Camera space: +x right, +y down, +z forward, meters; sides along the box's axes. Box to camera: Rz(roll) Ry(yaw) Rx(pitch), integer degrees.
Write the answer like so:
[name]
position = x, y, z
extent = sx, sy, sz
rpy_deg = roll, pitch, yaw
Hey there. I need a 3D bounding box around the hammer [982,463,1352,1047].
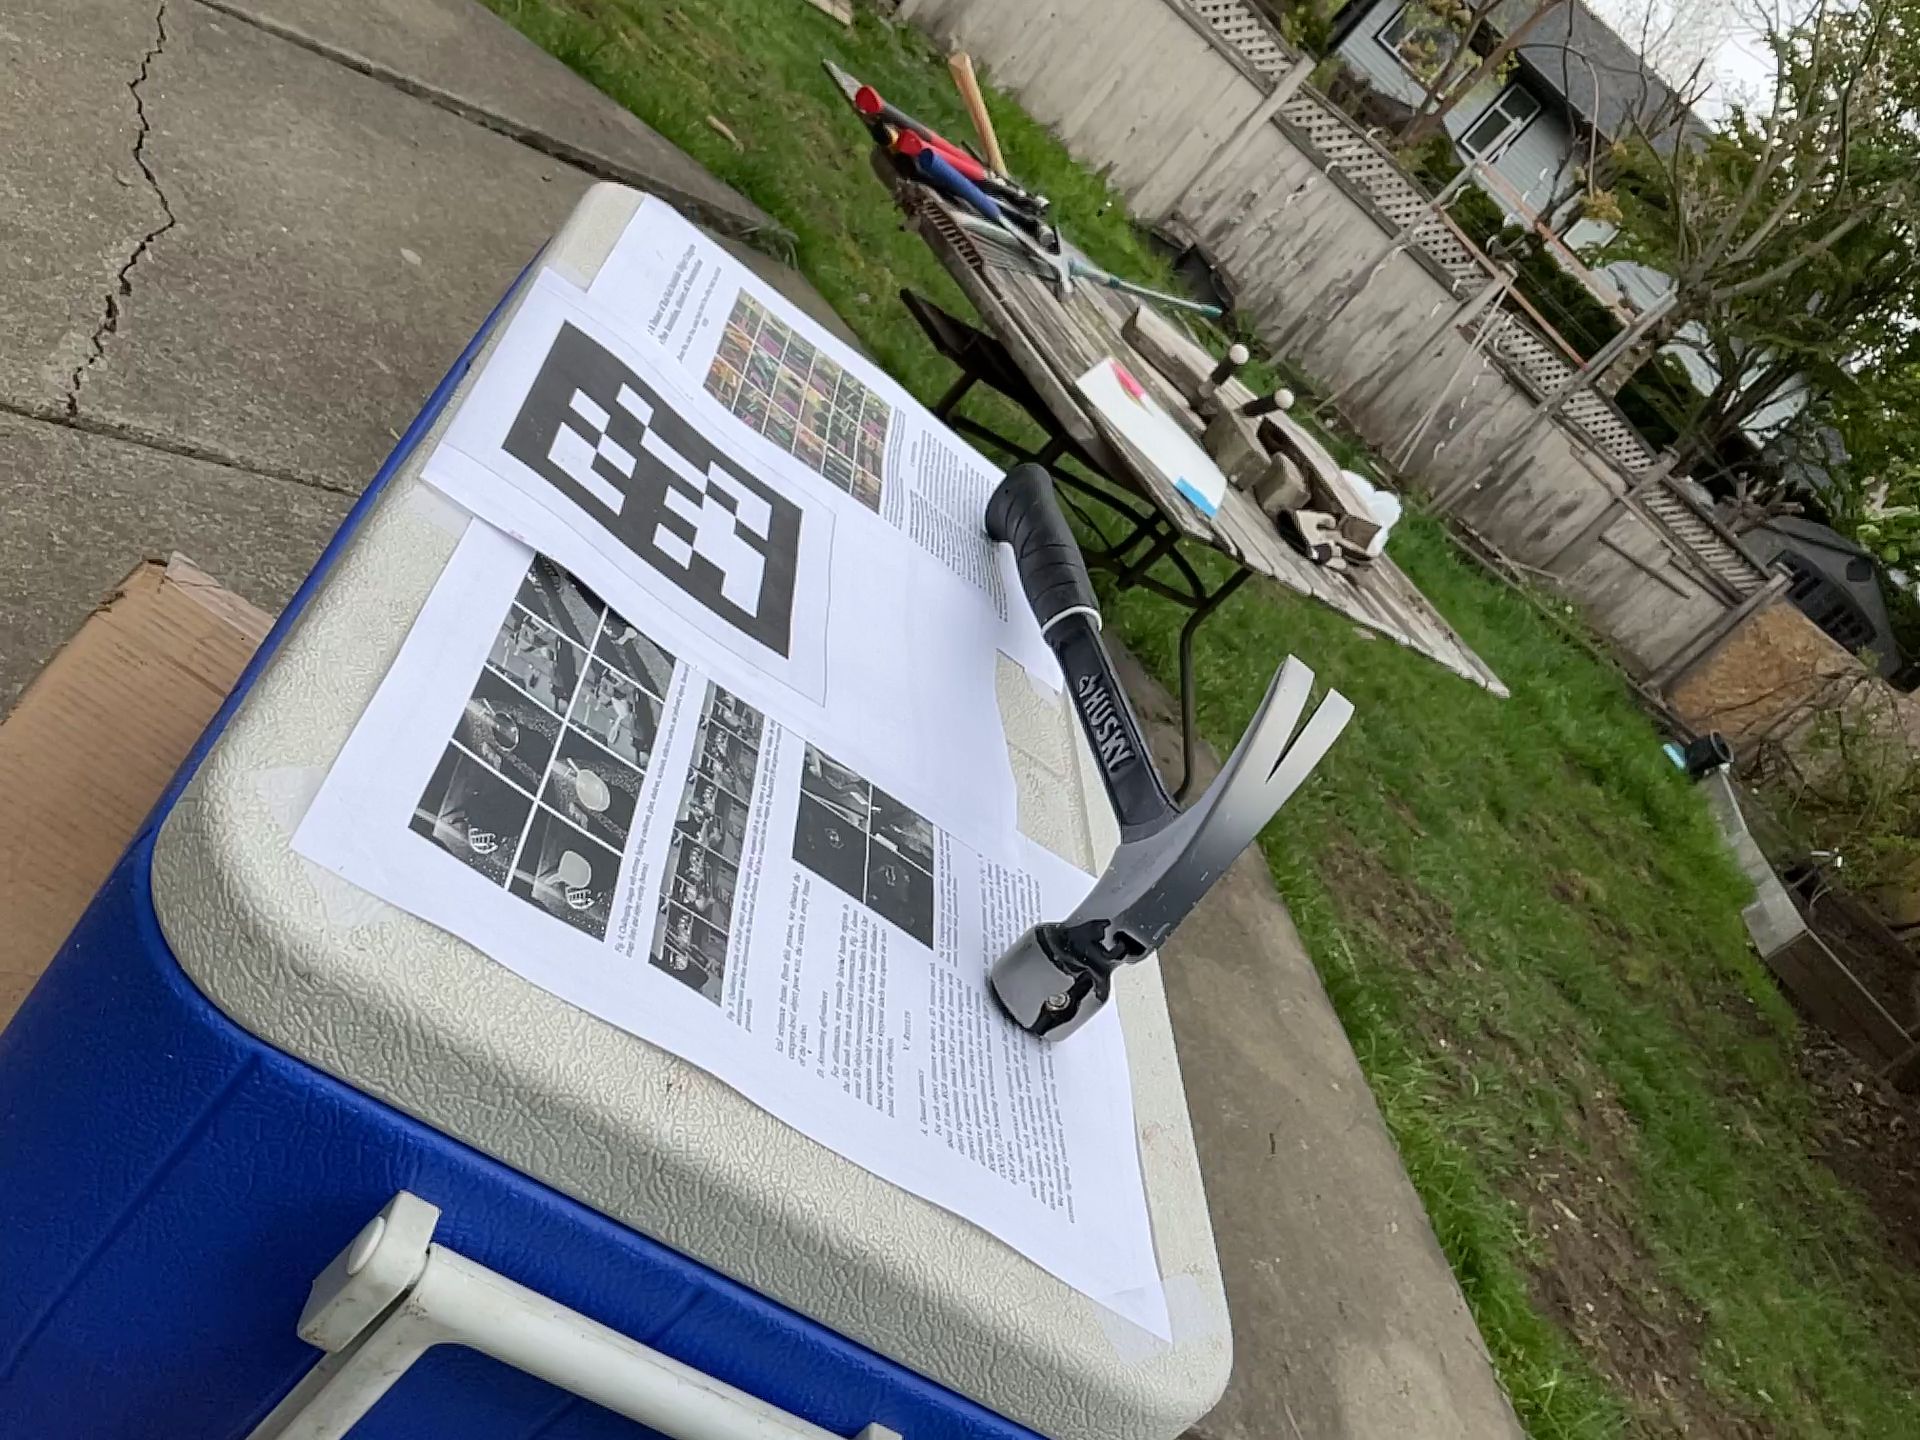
[hammer]
position = 0.053, -0.036, 0.687
extent = 0.036, 0.149, 0.409
rpy_deg = 36, 18, -21
